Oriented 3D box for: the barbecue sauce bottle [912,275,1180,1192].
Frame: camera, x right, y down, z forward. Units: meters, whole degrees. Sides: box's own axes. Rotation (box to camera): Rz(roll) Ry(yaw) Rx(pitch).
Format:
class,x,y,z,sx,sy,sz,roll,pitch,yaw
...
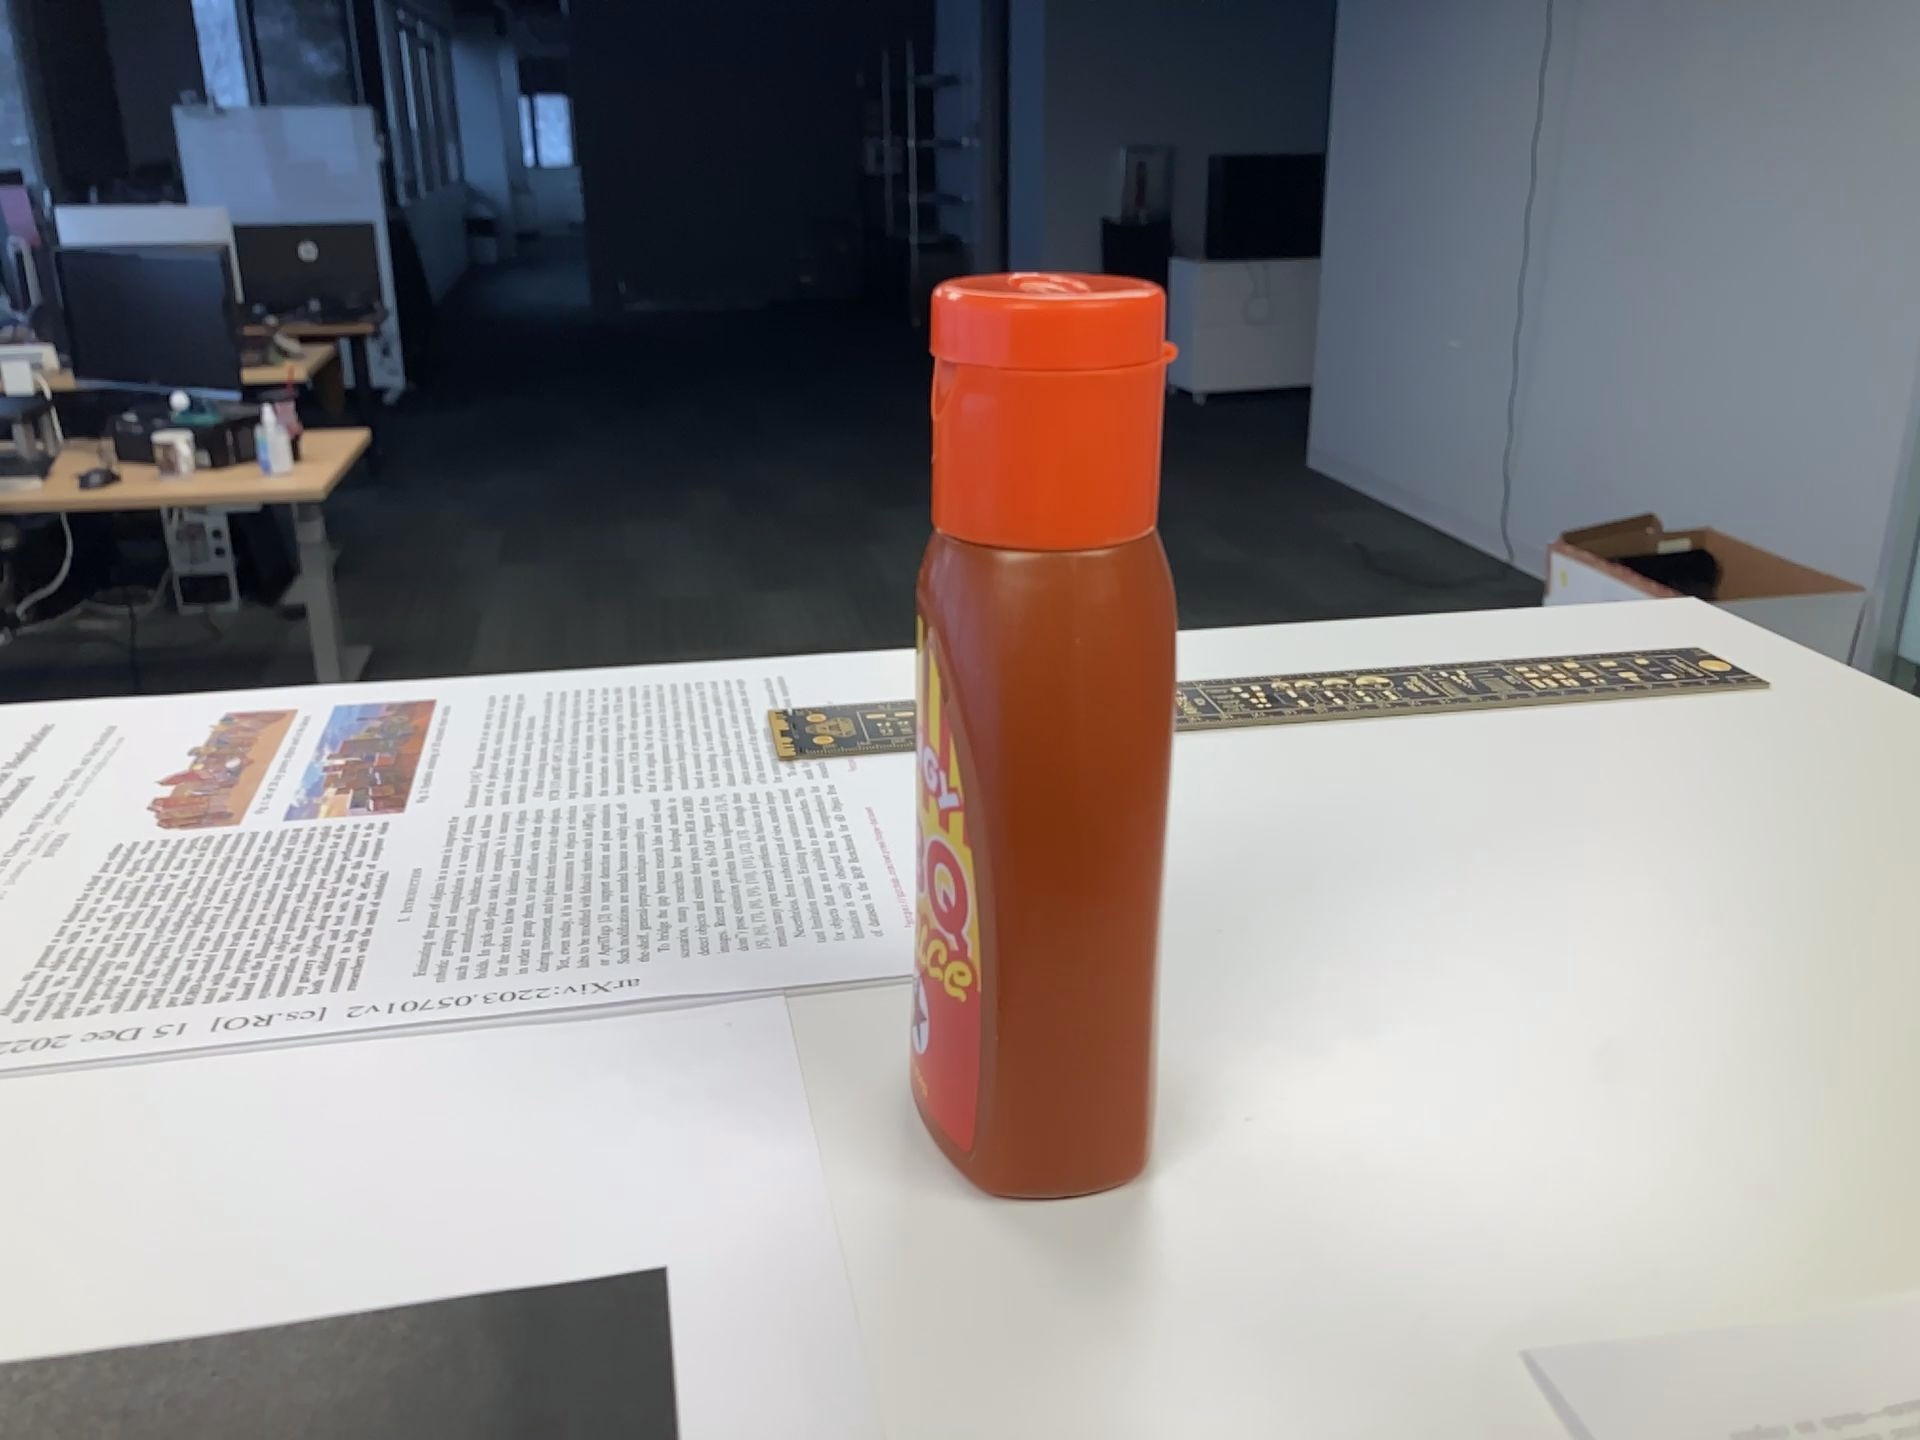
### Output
class,x,y,z,sx,sy,sz,roll,pitch,yaw
barbecue sauce bottle,0.014,0.002,0.271,0.043,0.148,0.065,-3,21,-10
